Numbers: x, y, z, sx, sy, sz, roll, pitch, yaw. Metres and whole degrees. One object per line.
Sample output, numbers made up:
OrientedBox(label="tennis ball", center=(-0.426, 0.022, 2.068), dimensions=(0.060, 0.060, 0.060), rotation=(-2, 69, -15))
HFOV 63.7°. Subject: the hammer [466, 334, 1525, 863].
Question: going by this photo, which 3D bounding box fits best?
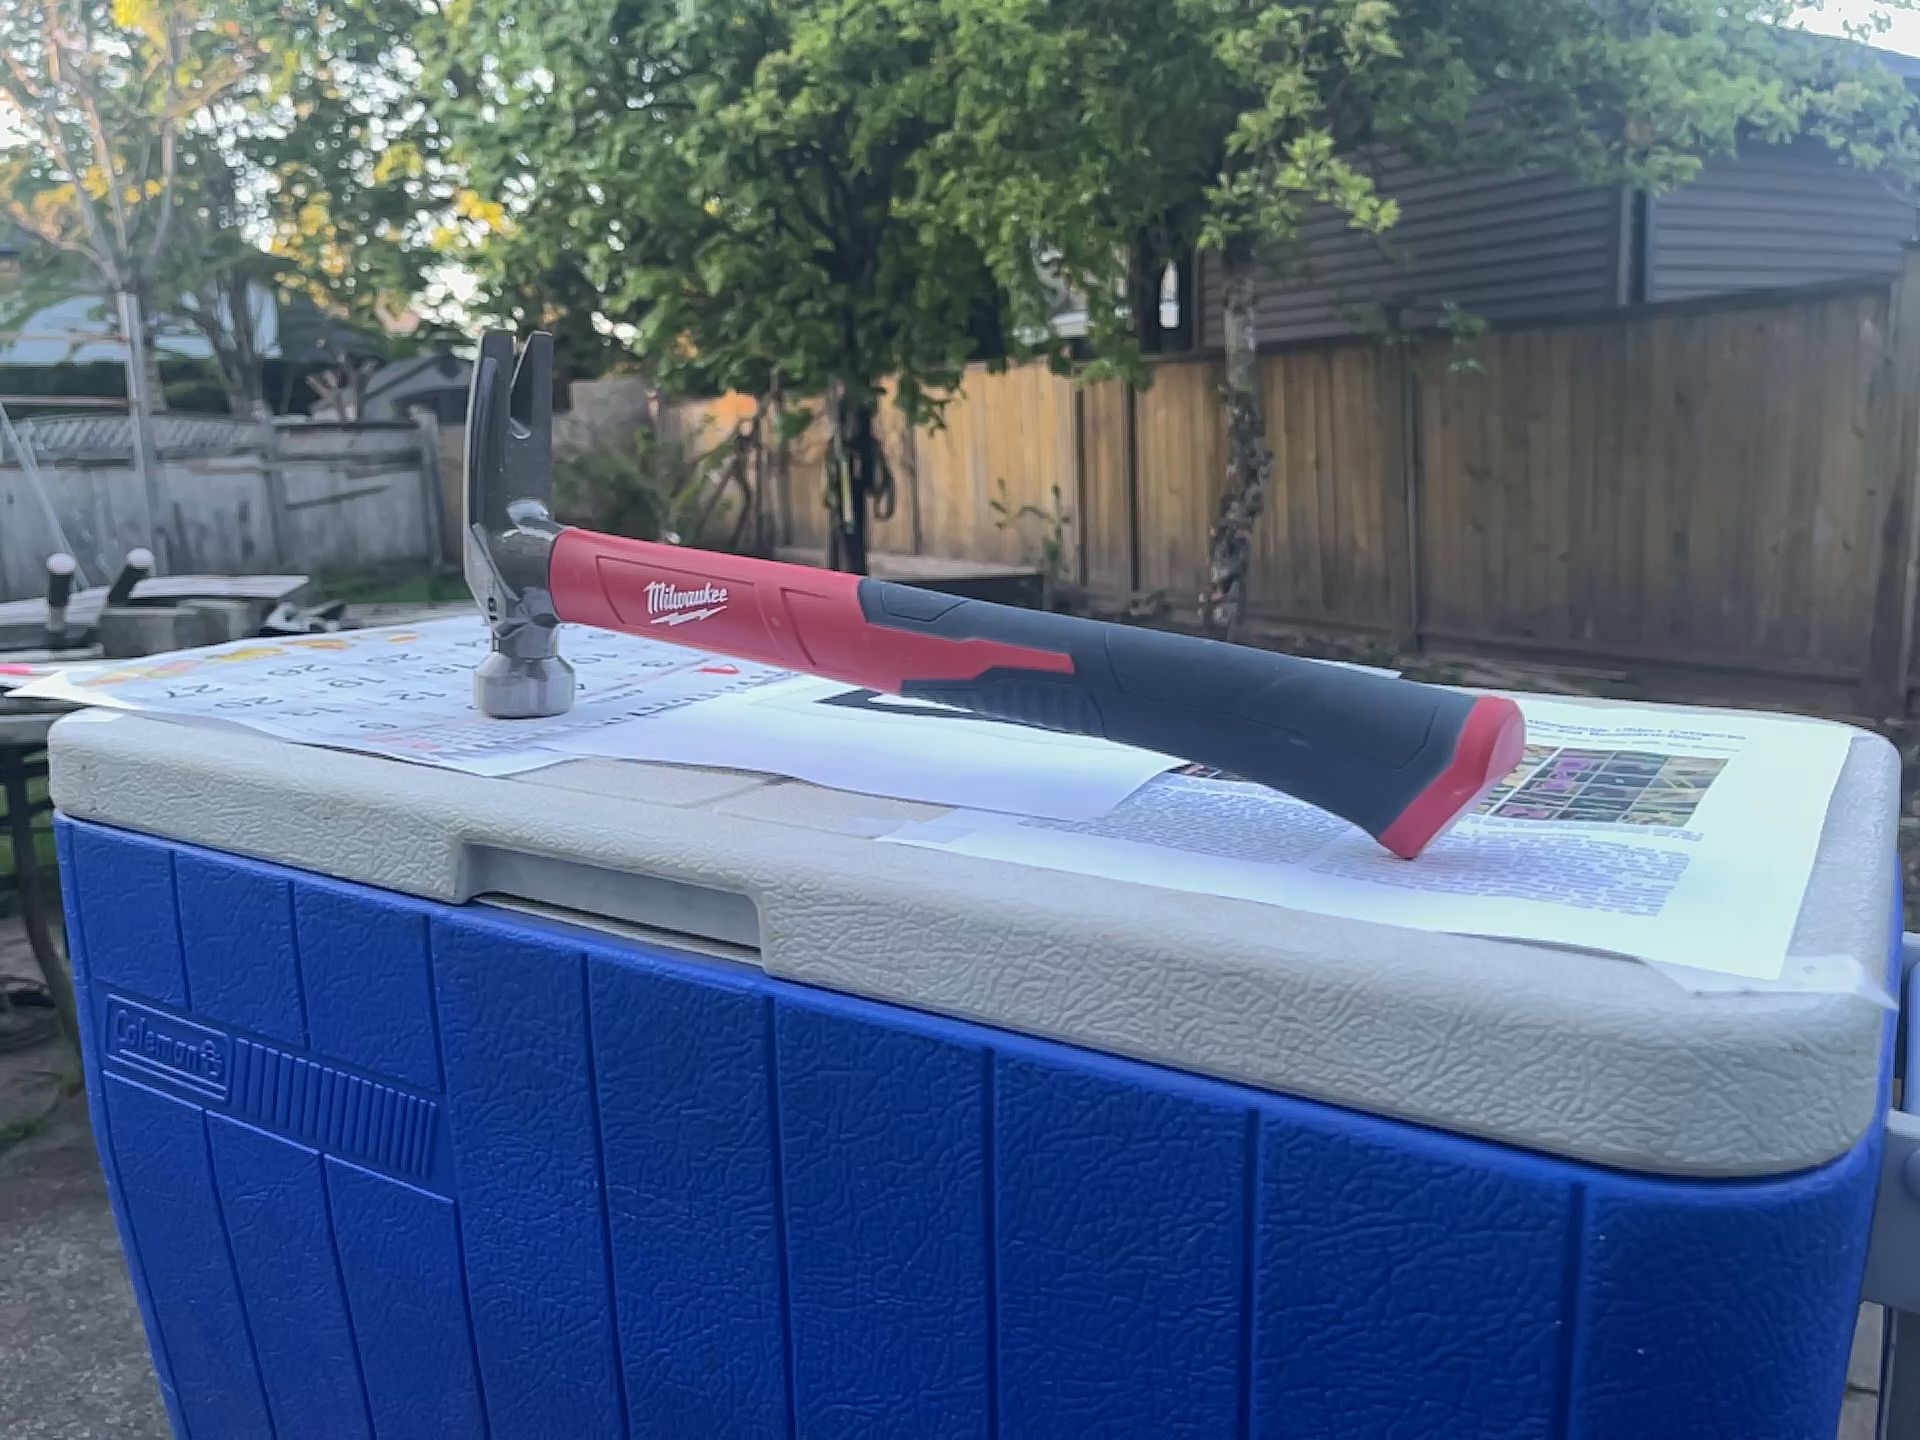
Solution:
OrientedBox(label="hammer", center=(-0.021, -0.040, 0.483), dimensions=(0.386, 0.143, 0.038), rotation=(12, 16, 34))
